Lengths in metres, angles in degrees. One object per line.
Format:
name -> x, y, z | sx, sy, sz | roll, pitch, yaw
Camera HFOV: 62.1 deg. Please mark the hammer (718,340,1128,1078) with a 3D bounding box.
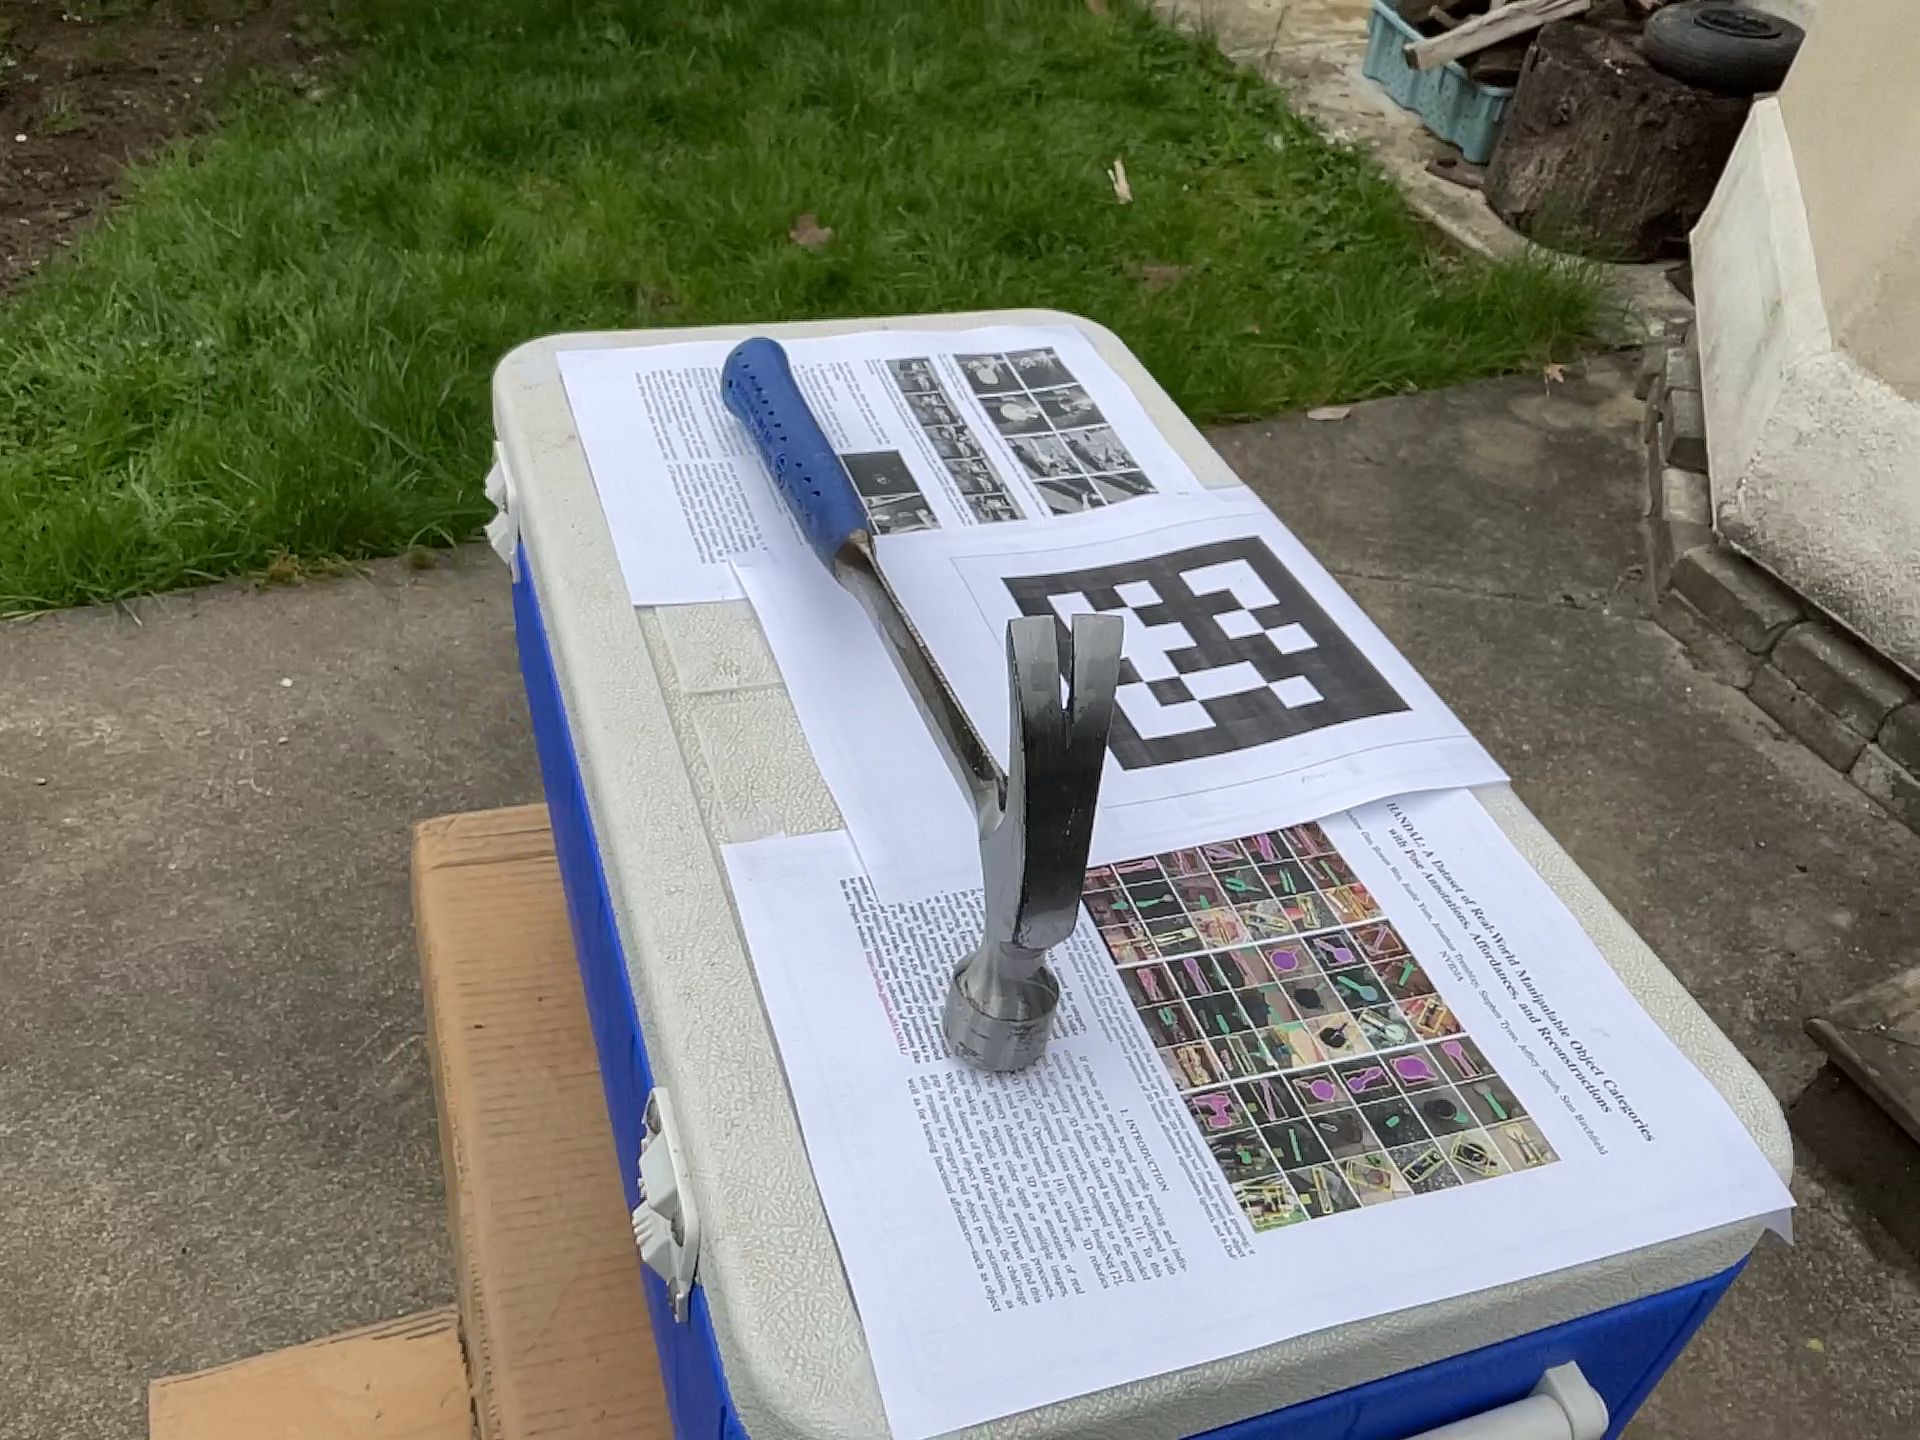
hammer -> -0.035, -0.060, 0.603 | 0.035, 0.144, 0.405 | -2, 33, -21
